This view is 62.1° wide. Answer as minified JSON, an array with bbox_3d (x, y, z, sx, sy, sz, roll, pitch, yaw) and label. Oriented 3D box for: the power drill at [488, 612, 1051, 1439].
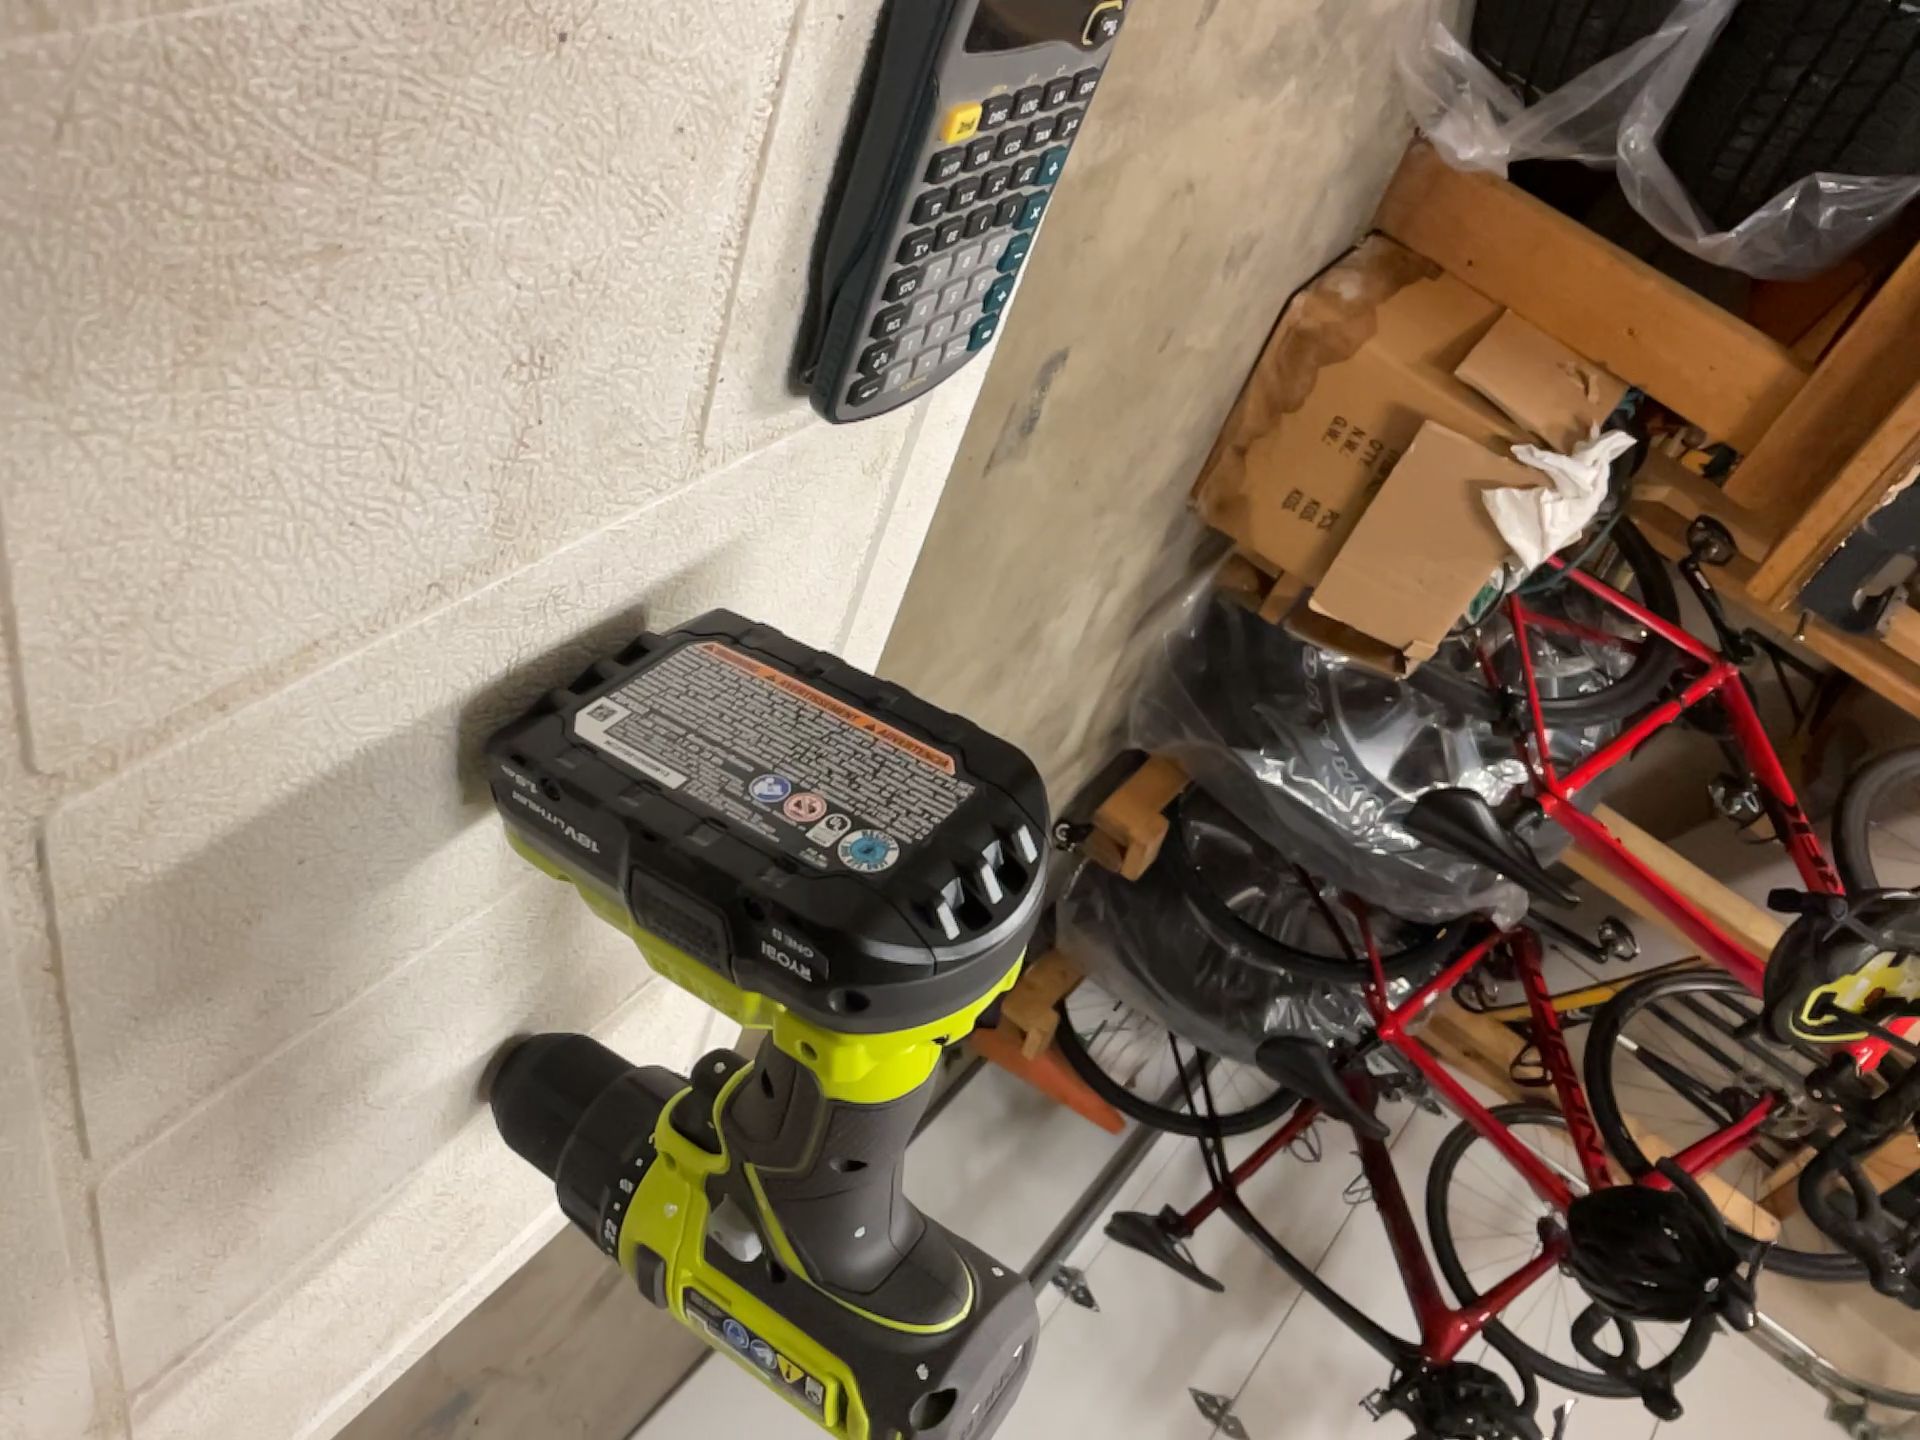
[{"bbox_3d":[-0.063,0.091,0.441,0.080,0.190,0.228,-40,146,-42],"label":"power drill"}]
